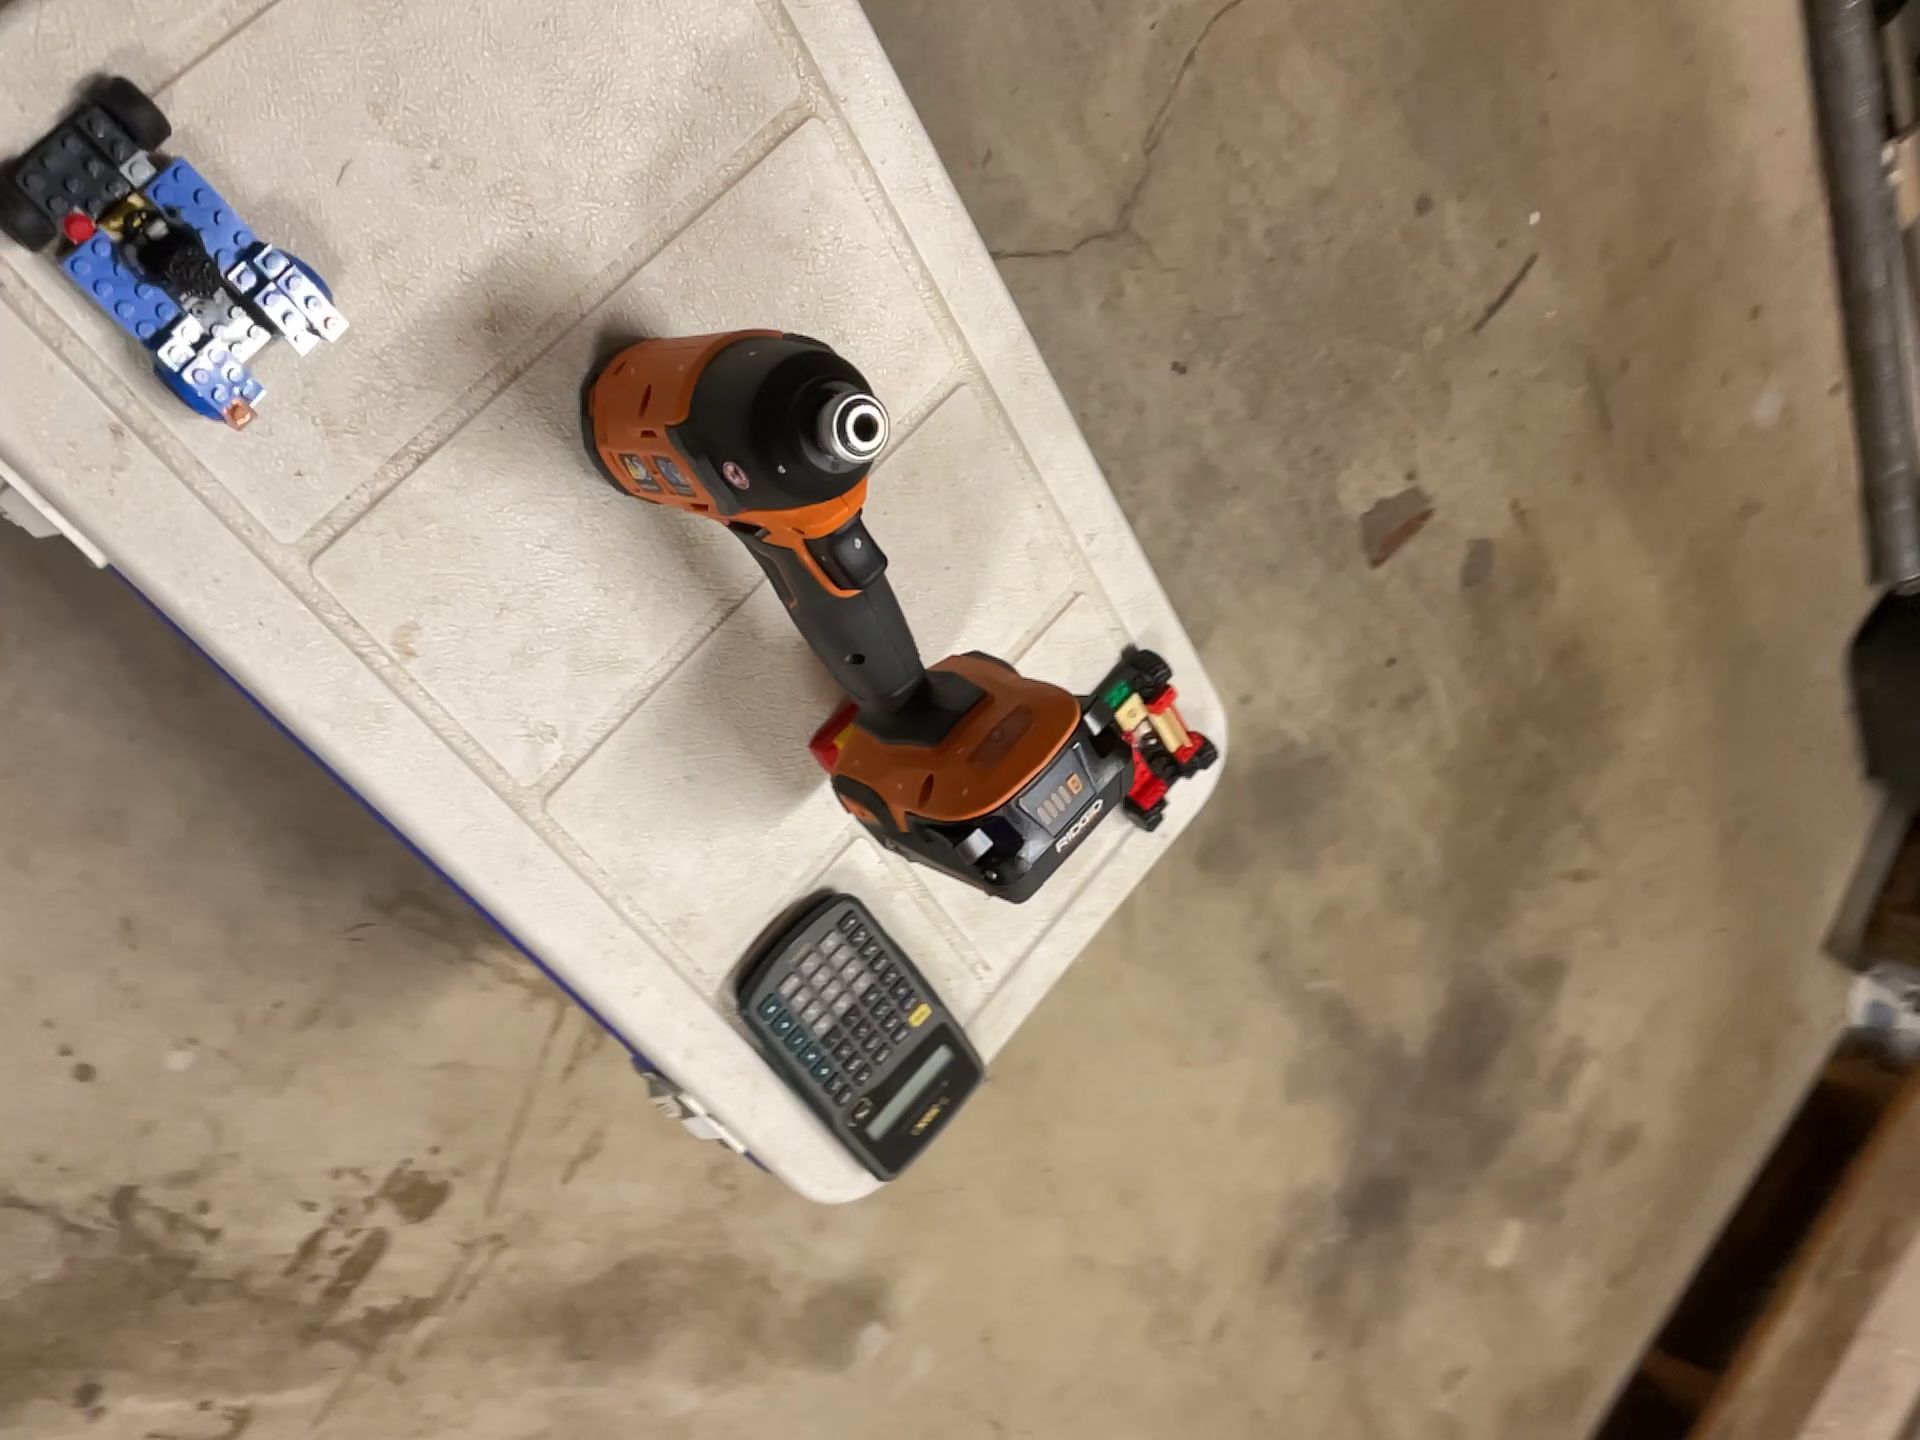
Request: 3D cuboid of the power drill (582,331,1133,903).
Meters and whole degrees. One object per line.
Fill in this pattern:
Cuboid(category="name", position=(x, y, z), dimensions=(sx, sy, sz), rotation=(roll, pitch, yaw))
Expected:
Cuboid(category="power drill", position=(-0.031, -0.040, 0.578), dimensions=(0.084, 0.164, 0.226), rotation=(-45, 118, -18))
